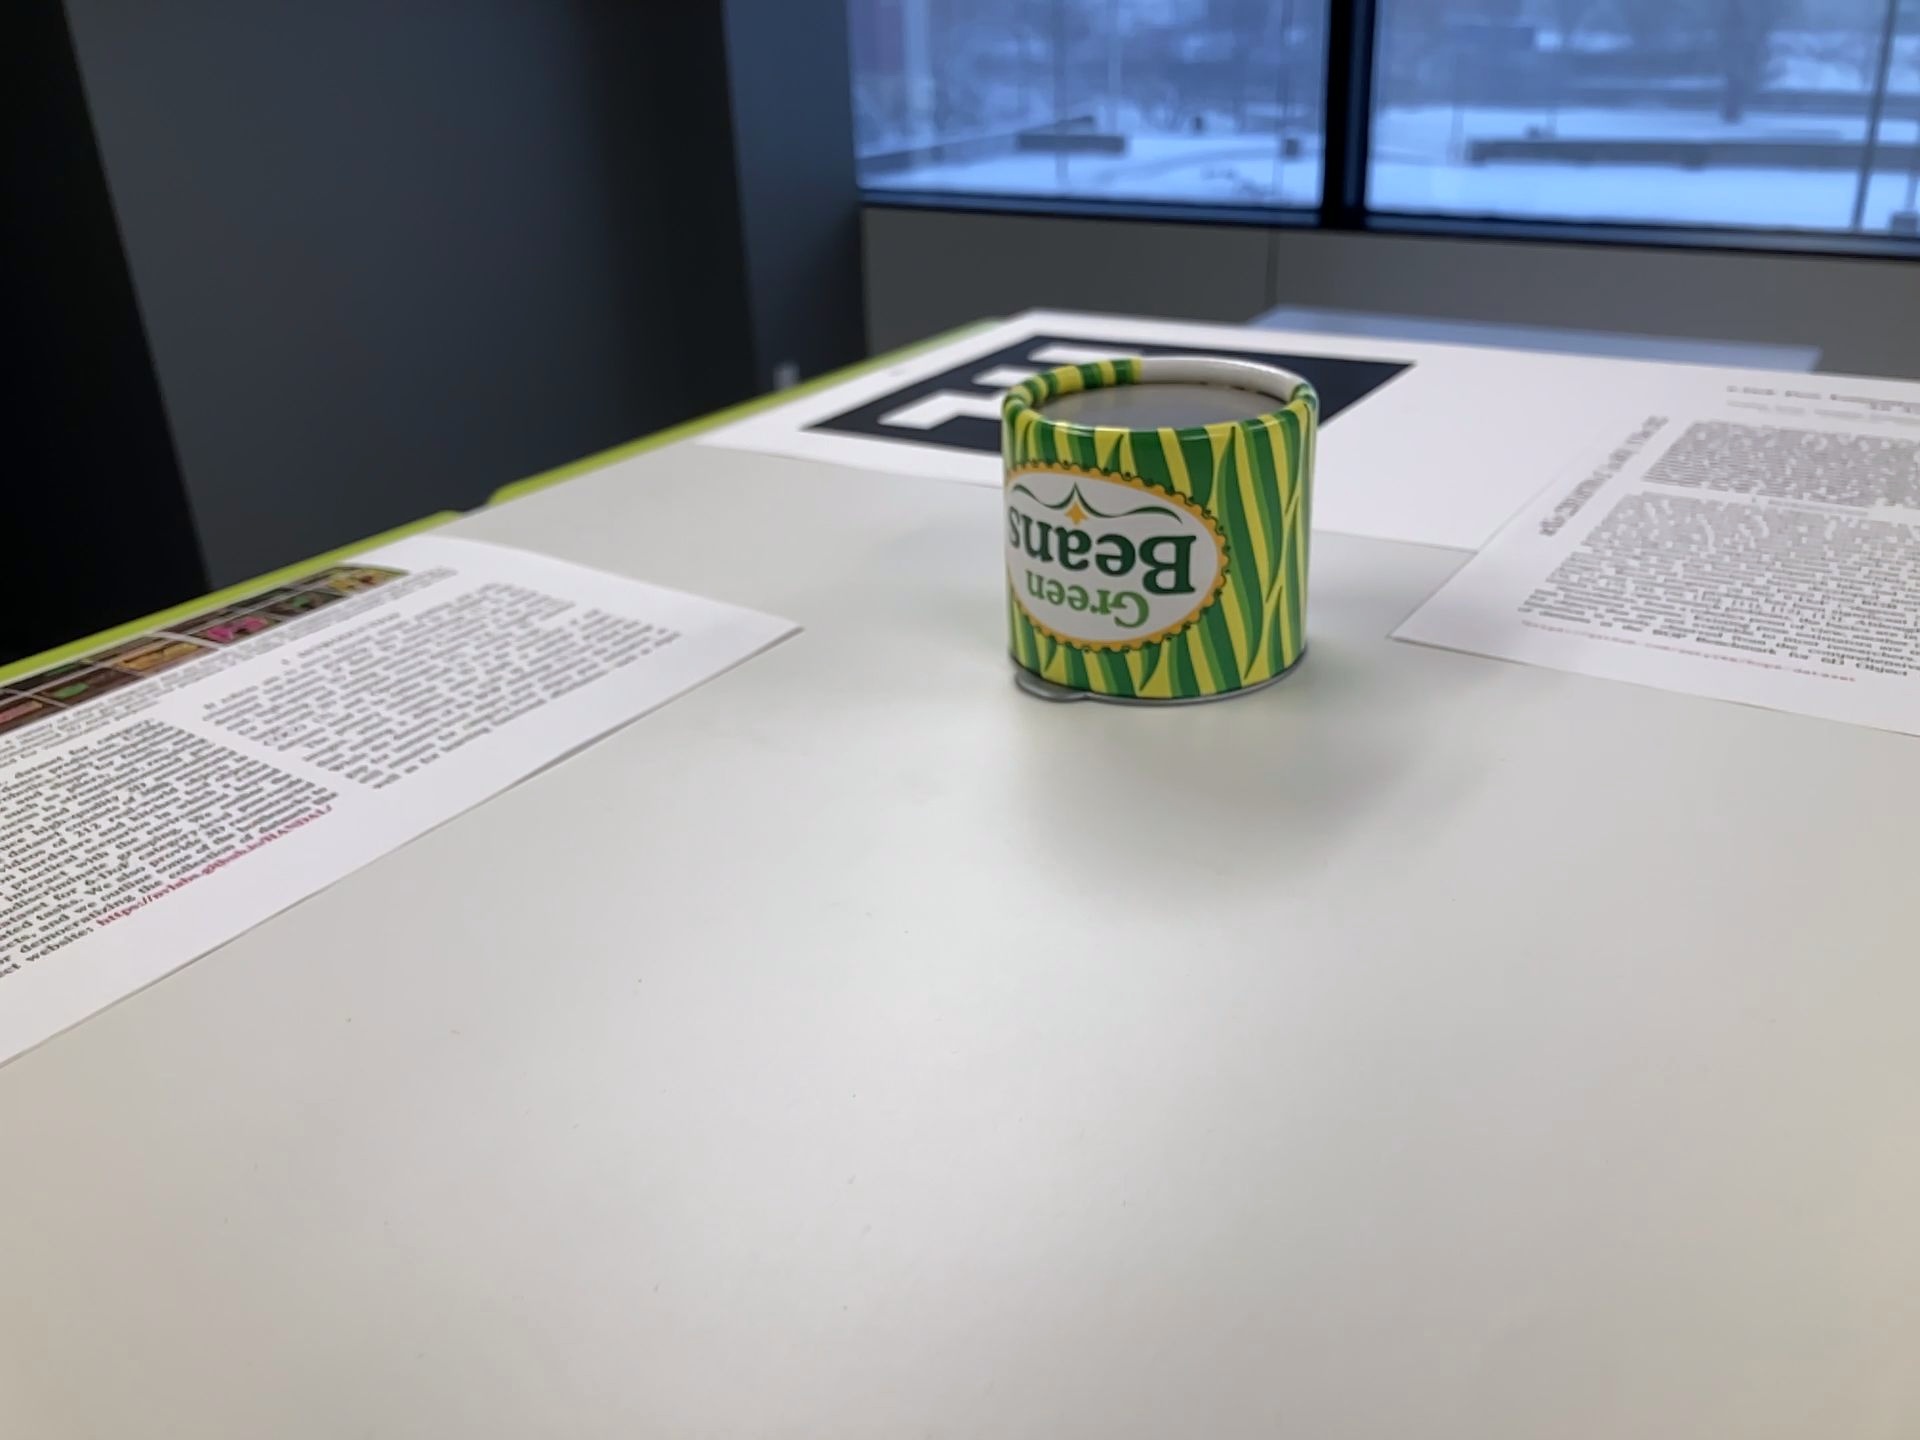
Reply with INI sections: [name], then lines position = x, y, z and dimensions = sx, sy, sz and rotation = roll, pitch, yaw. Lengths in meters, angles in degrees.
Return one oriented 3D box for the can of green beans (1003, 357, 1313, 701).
[can of green beans]
position = 0.043, -0.044, 0.349
dimensions = 0.071, 0.058, 0.071
rotation = -2, 25, 1
